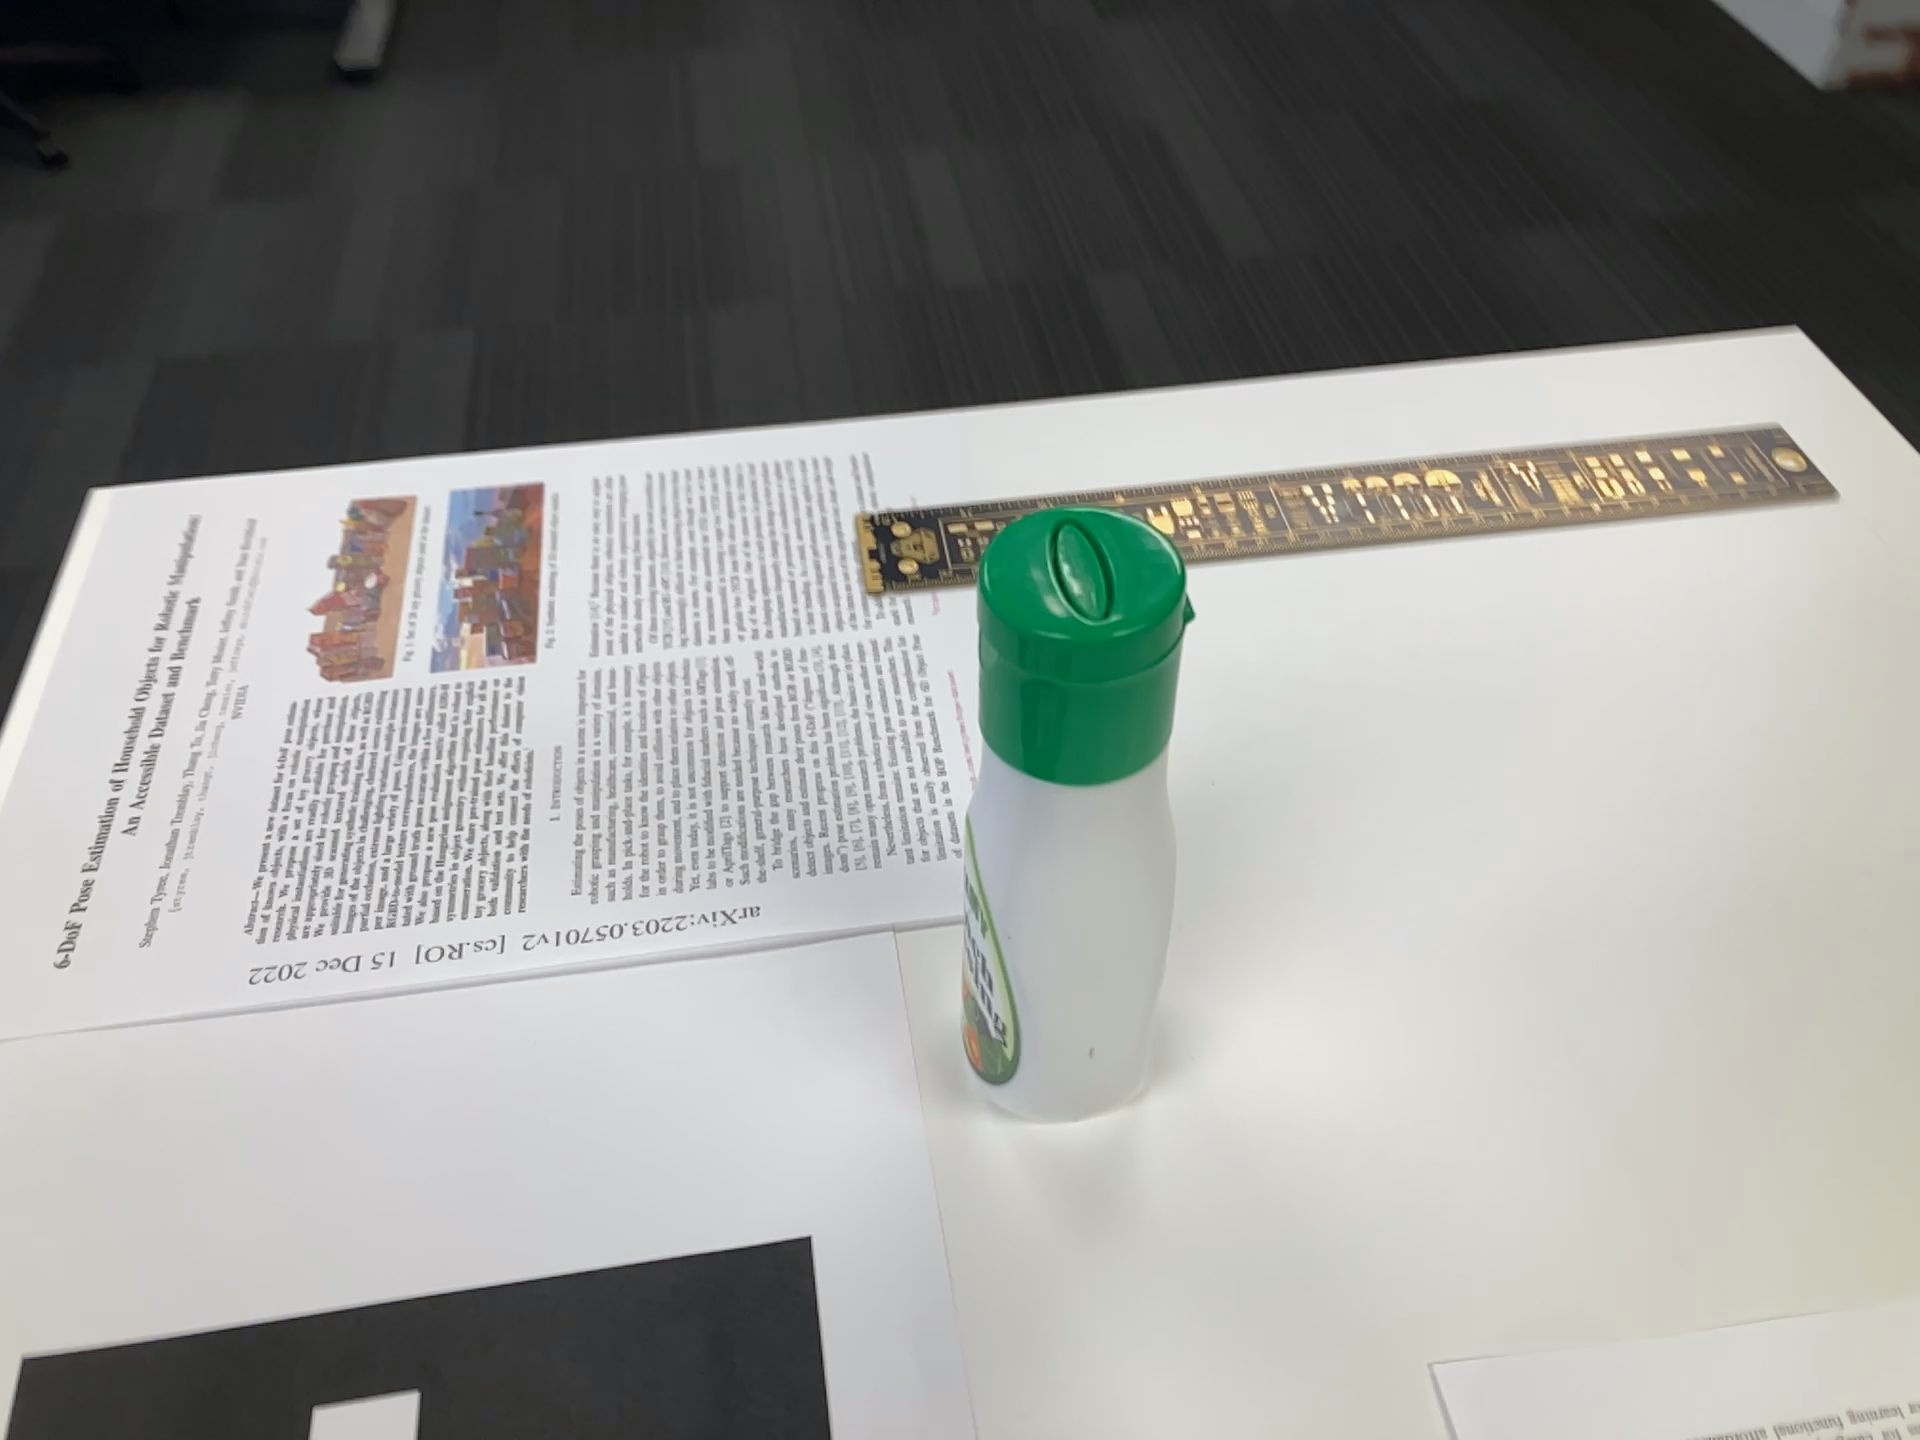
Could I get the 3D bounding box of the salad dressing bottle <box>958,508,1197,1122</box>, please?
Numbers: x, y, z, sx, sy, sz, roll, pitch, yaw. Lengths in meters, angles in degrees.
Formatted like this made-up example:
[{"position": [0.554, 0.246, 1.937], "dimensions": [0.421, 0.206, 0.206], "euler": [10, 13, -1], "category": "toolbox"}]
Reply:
[{"position": [0.022, 0.025, 0.324], "dimensions": [0.044, 0.147, 0.064], "euler": [-6, 46, -6], "category": "salad dressing bottle"}]
